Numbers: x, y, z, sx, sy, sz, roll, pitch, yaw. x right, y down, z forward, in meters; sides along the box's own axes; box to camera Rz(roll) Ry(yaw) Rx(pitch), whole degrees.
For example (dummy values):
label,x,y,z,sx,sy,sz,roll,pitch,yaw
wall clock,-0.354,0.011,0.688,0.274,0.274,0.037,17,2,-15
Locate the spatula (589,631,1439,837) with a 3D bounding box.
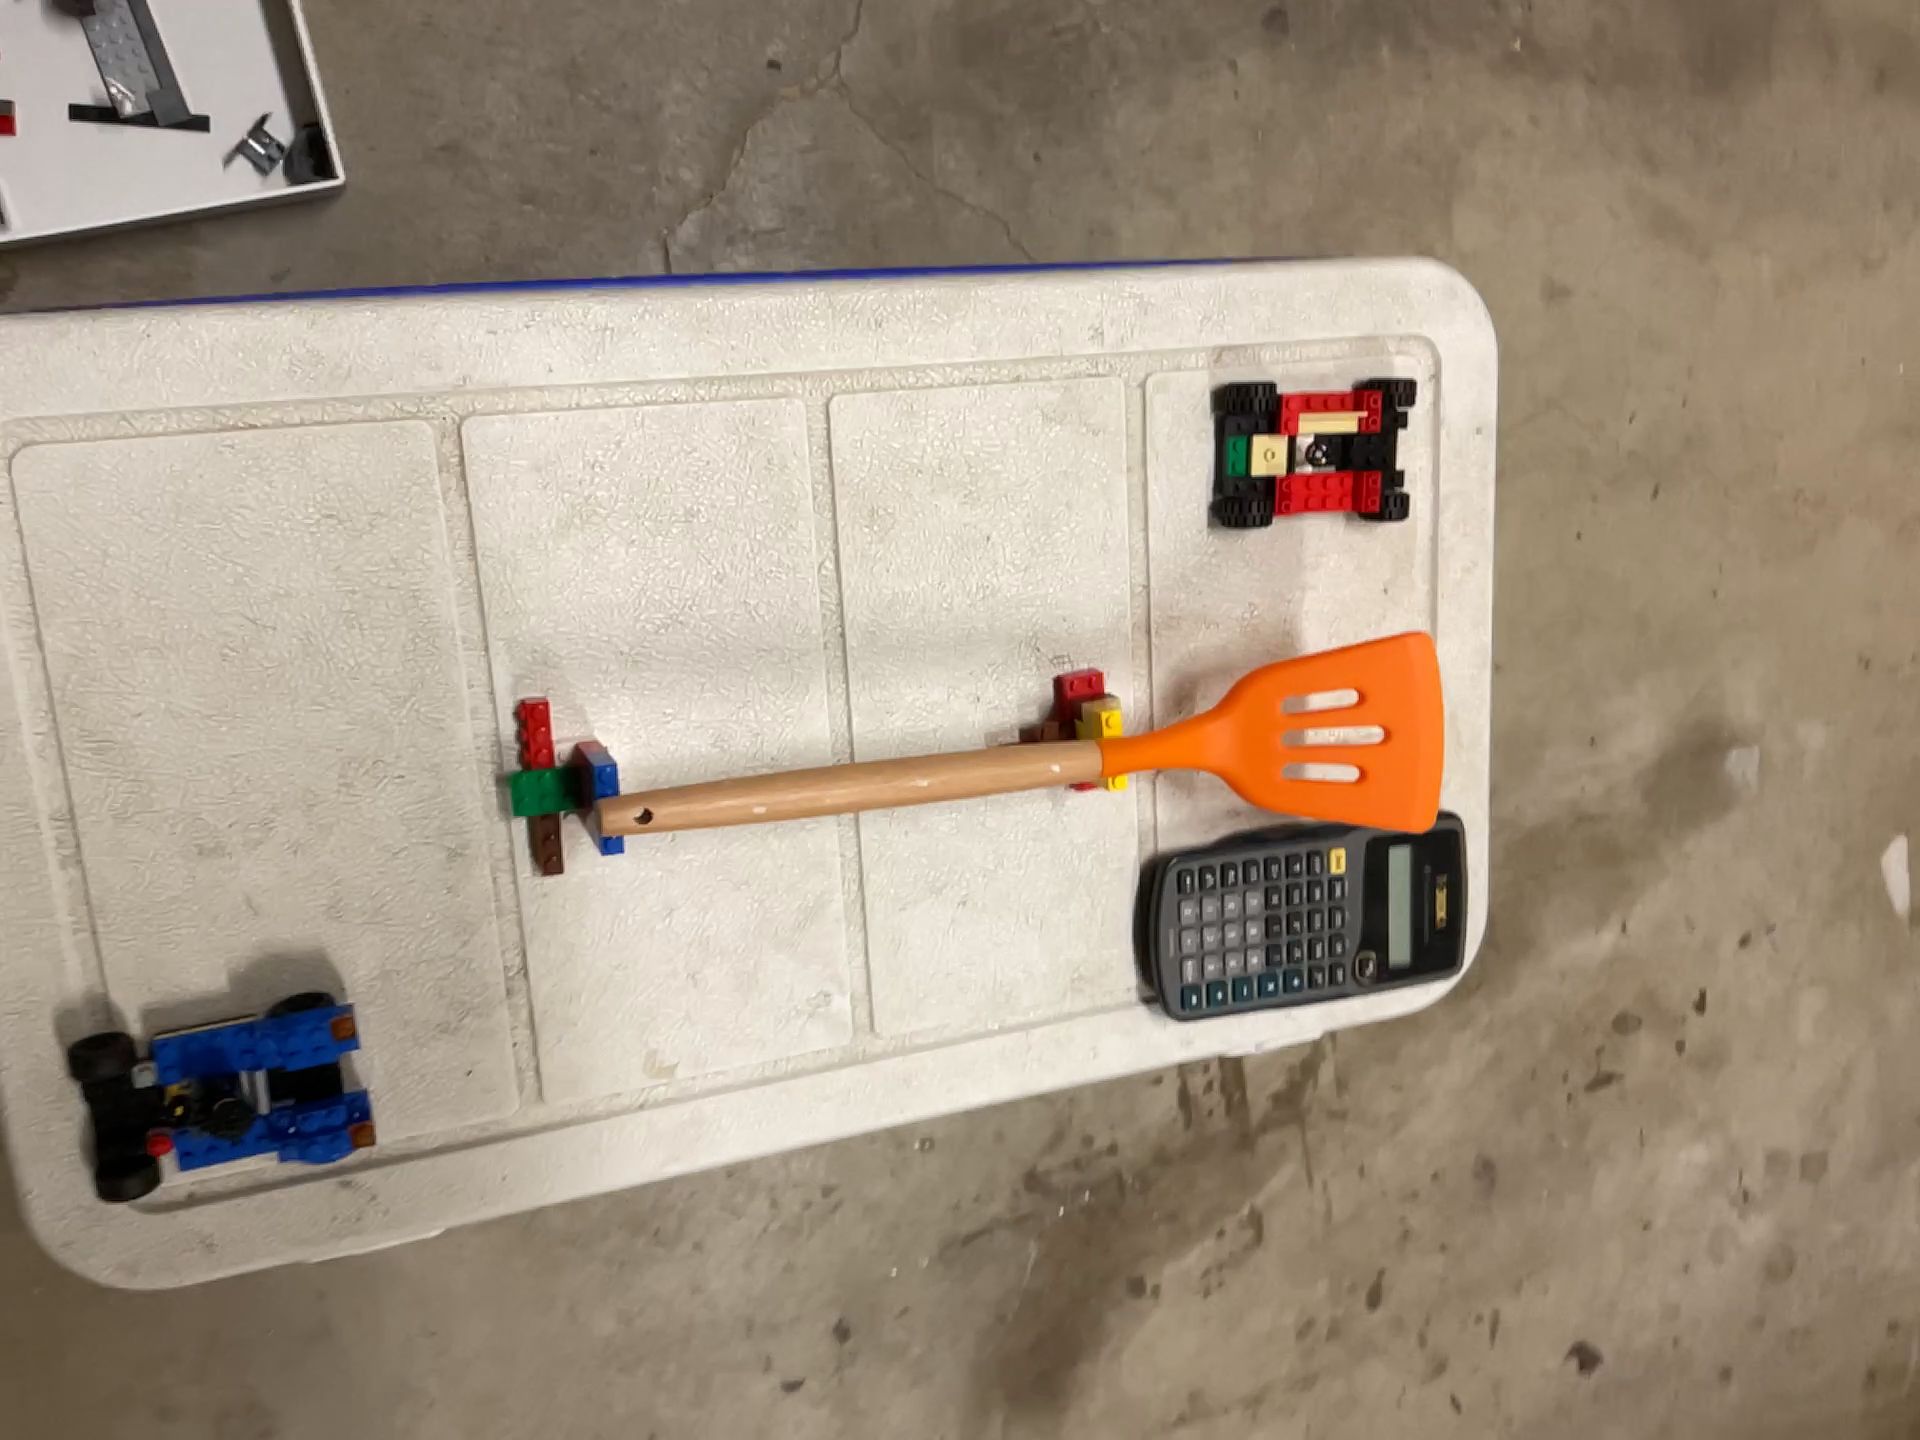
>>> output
label,x,y,z,sx,sy,sz,roll,pitch,yaw
spatula,0.030,0.018,0.583,0.322,0.041,0.081,-6,100,-21
